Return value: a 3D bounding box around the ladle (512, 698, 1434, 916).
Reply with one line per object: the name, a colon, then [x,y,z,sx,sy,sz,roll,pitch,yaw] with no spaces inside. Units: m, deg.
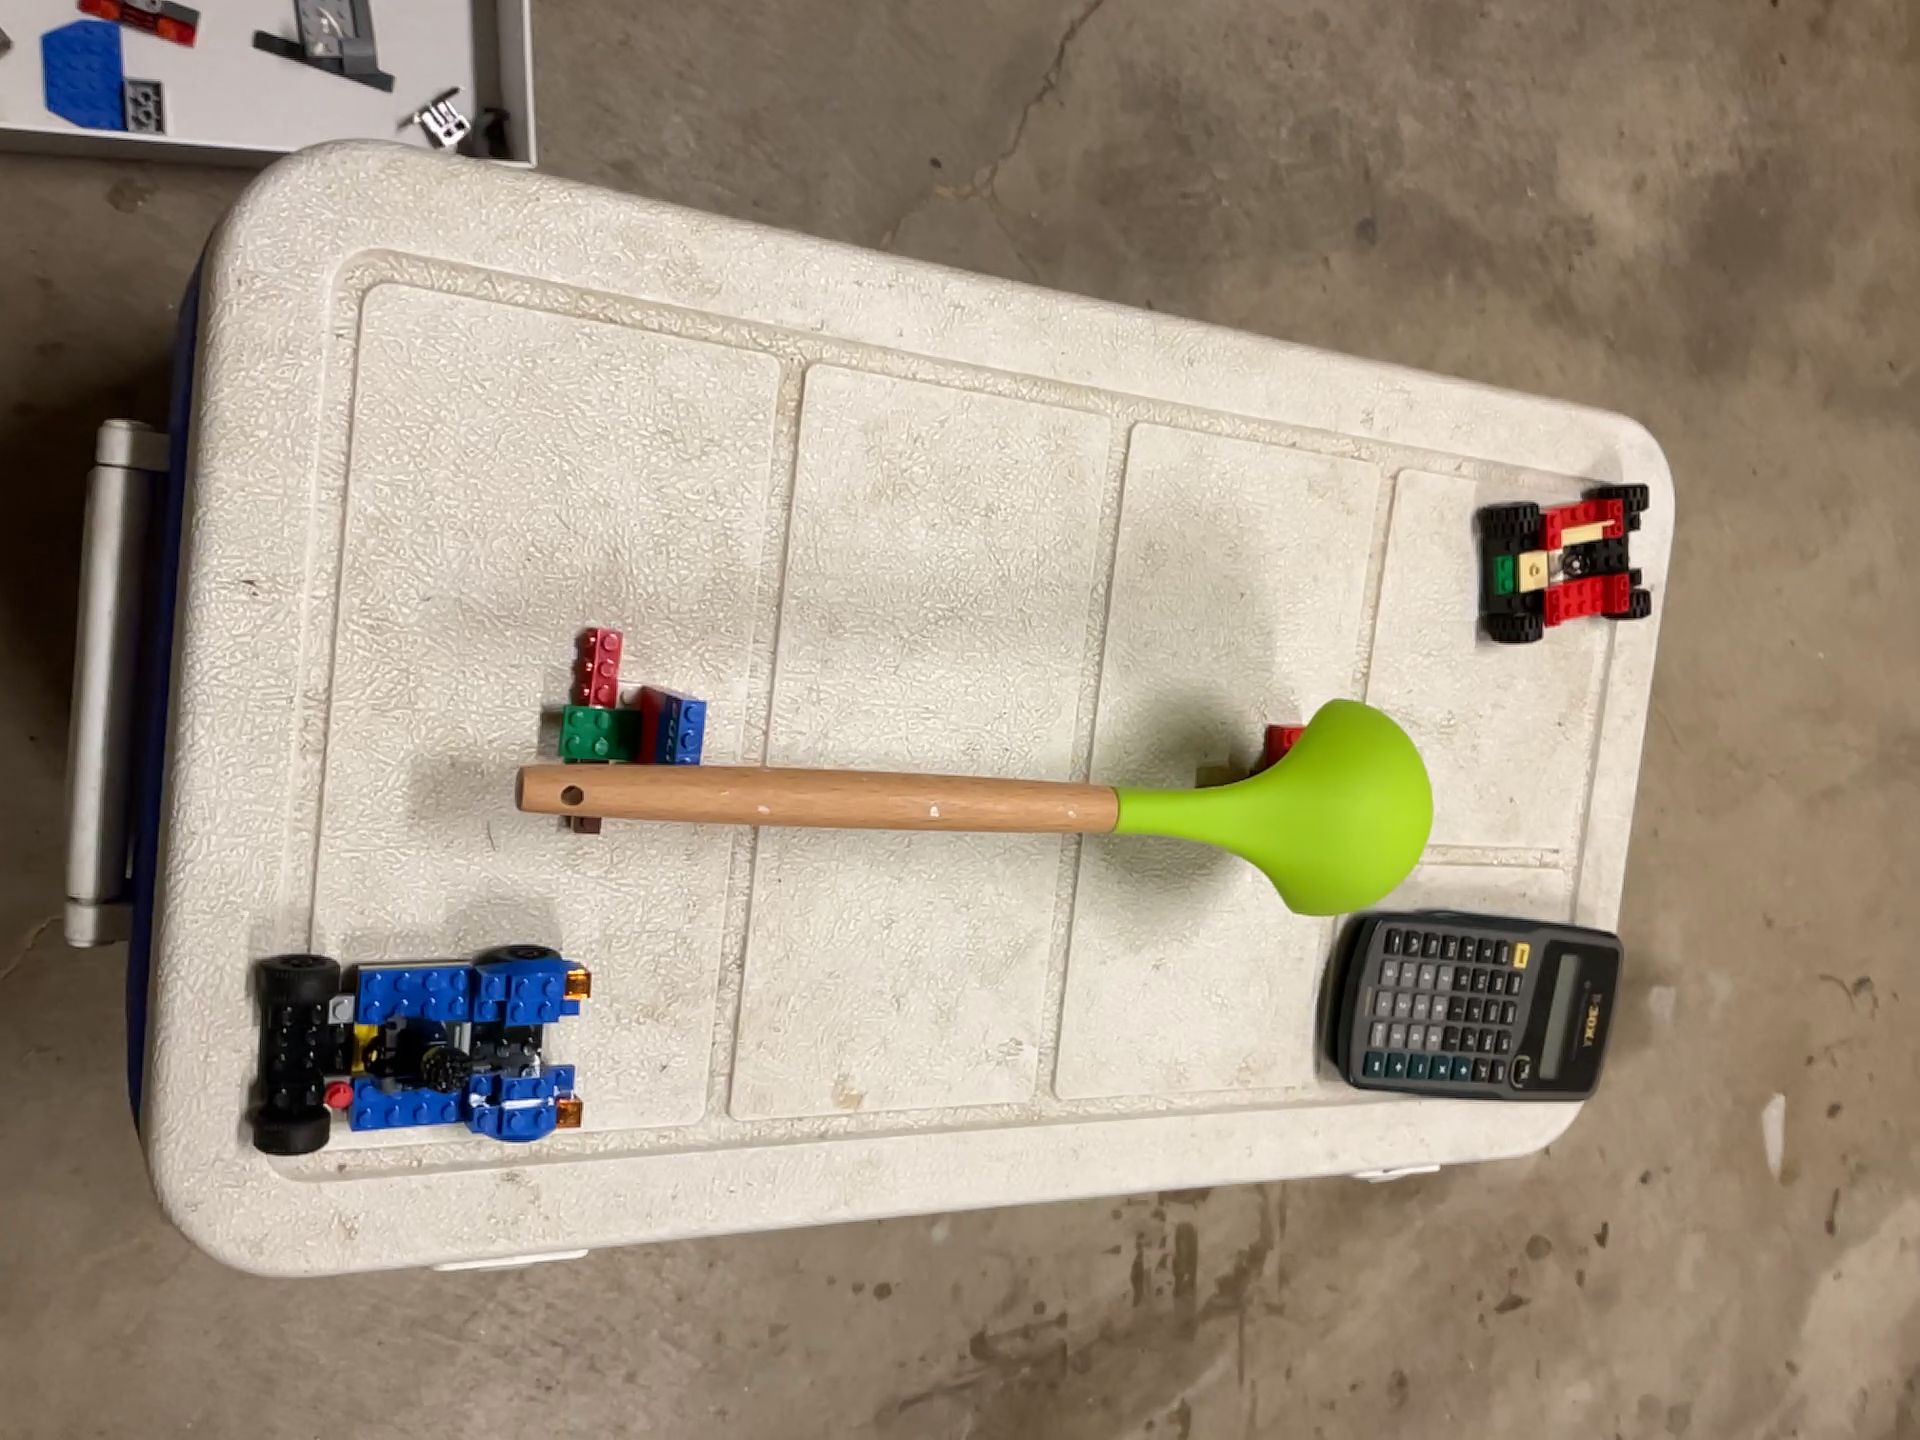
ladle: [0.019,0.025,0.514,0.320,0.062,0.078,4,101,-22]
